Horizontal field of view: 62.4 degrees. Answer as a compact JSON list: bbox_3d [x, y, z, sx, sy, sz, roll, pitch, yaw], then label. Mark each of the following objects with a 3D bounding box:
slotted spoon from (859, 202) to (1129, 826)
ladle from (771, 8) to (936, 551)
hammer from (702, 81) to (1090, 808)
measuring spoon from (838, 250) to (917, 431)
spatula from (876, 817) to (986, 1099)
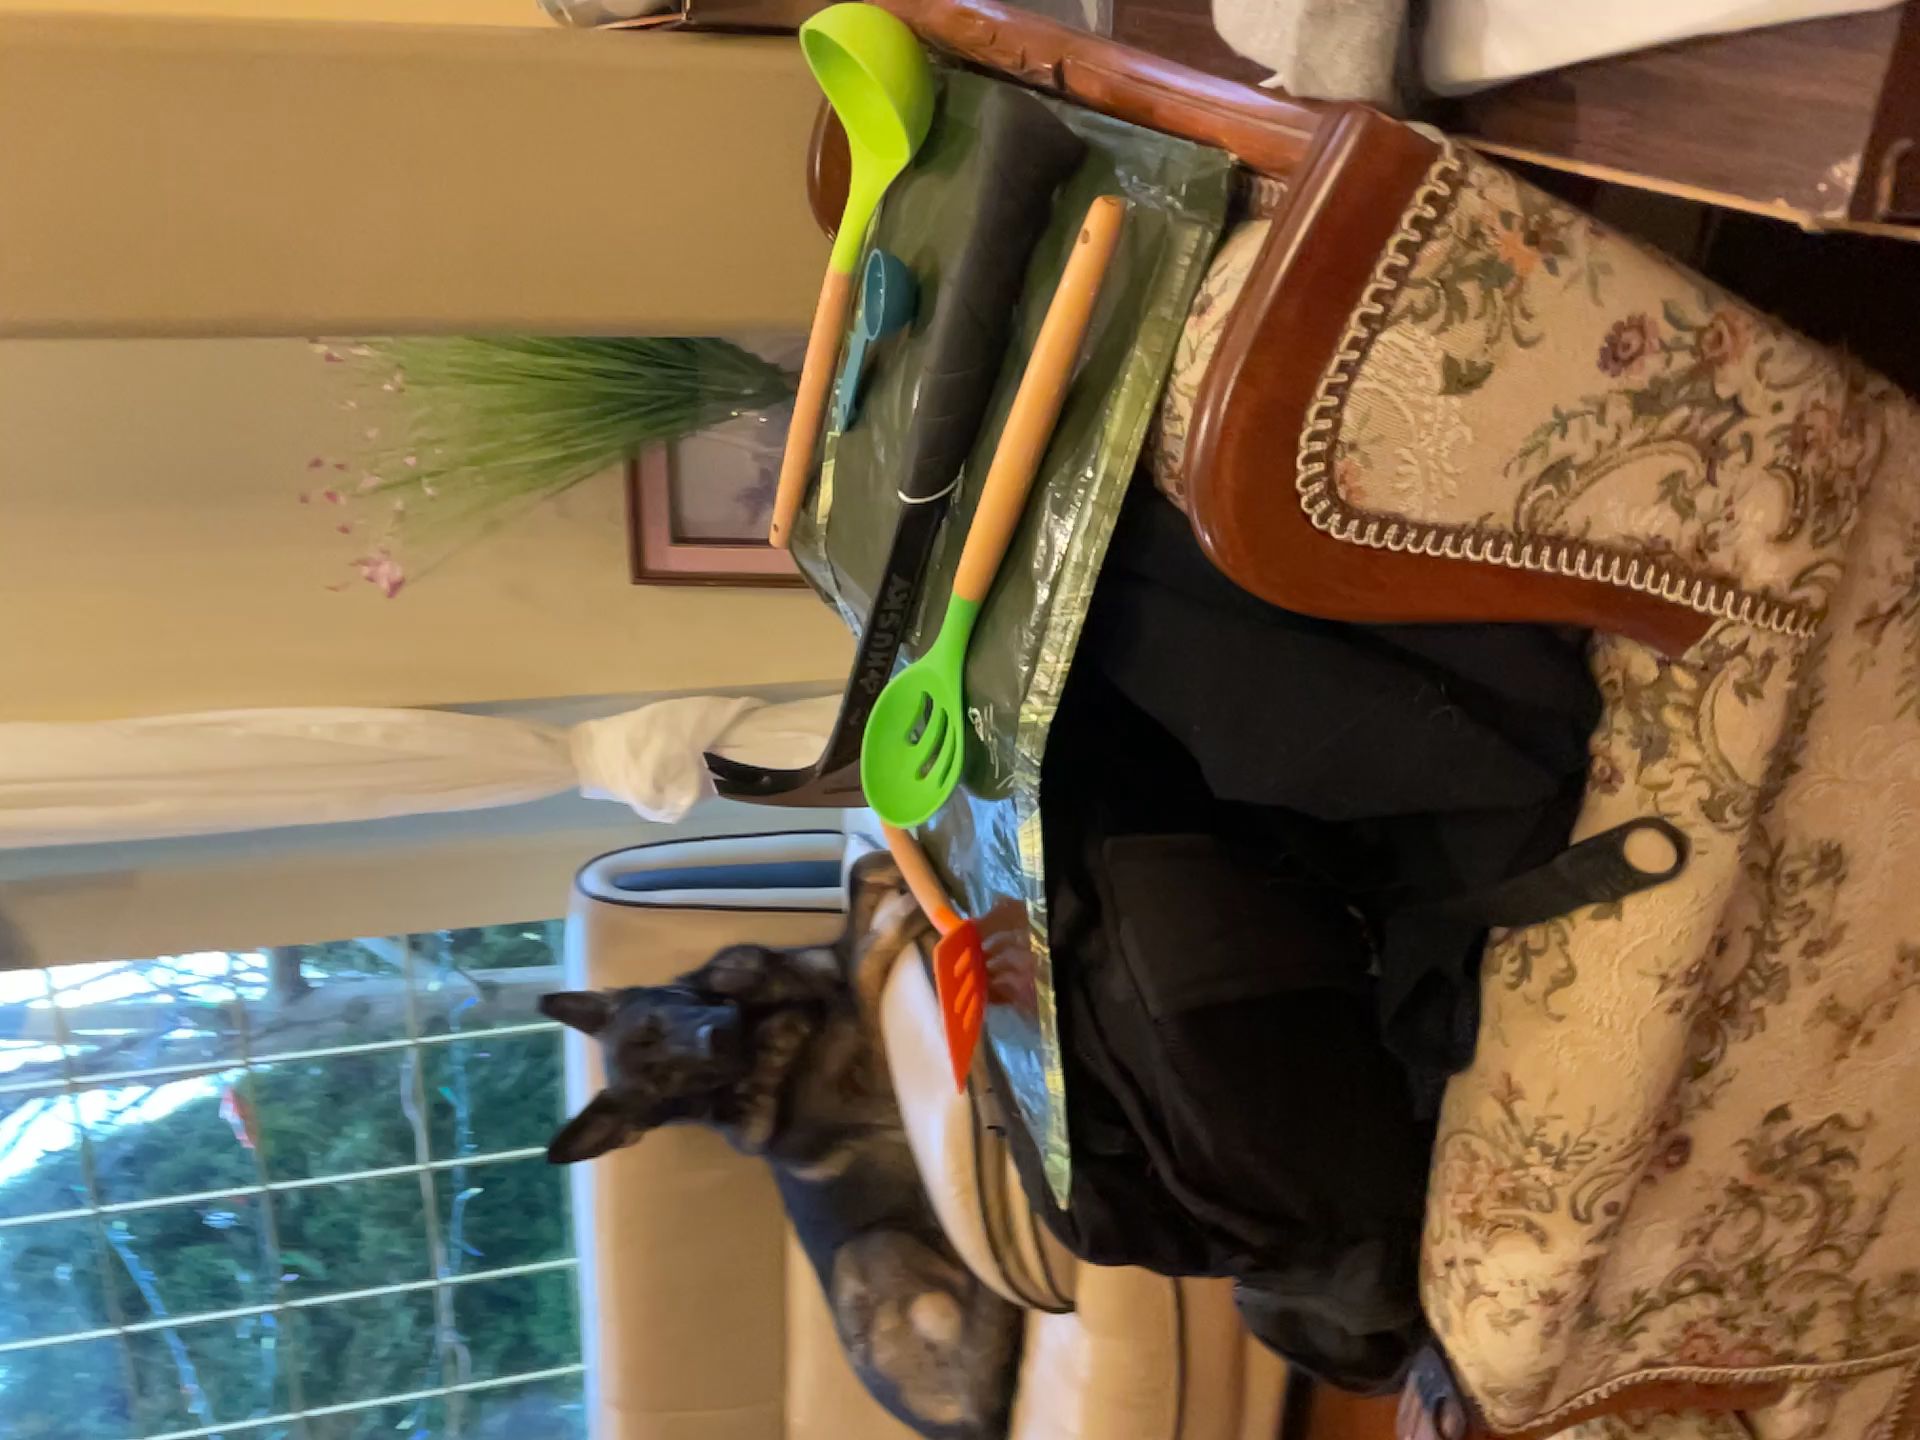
[{"bbox_3d":[0.013,-0.074,0.683,0.070,0.031,0.313,55,139,35],"label":"slotted spoon"},{"bbox_3d":[-0.075,-0.214,0.839,0.078,0.062,0.320,46,138,27],"label":"ladle"},{"bbox_3d":[-0.023,-0.100,0.753,0.036,0.149,0.408,61,146,38],"label":"hammer"},{"bbox_3d":[-0.042,-0.186,0.801,0.128,0.021,0.042,119,146,-61],"label":"measuring spoon"},{"bbox_3d":[-0.024,0.109,0.931,0.323,0.041,0.081,-131,32,-70],"label":"spatula"}]
